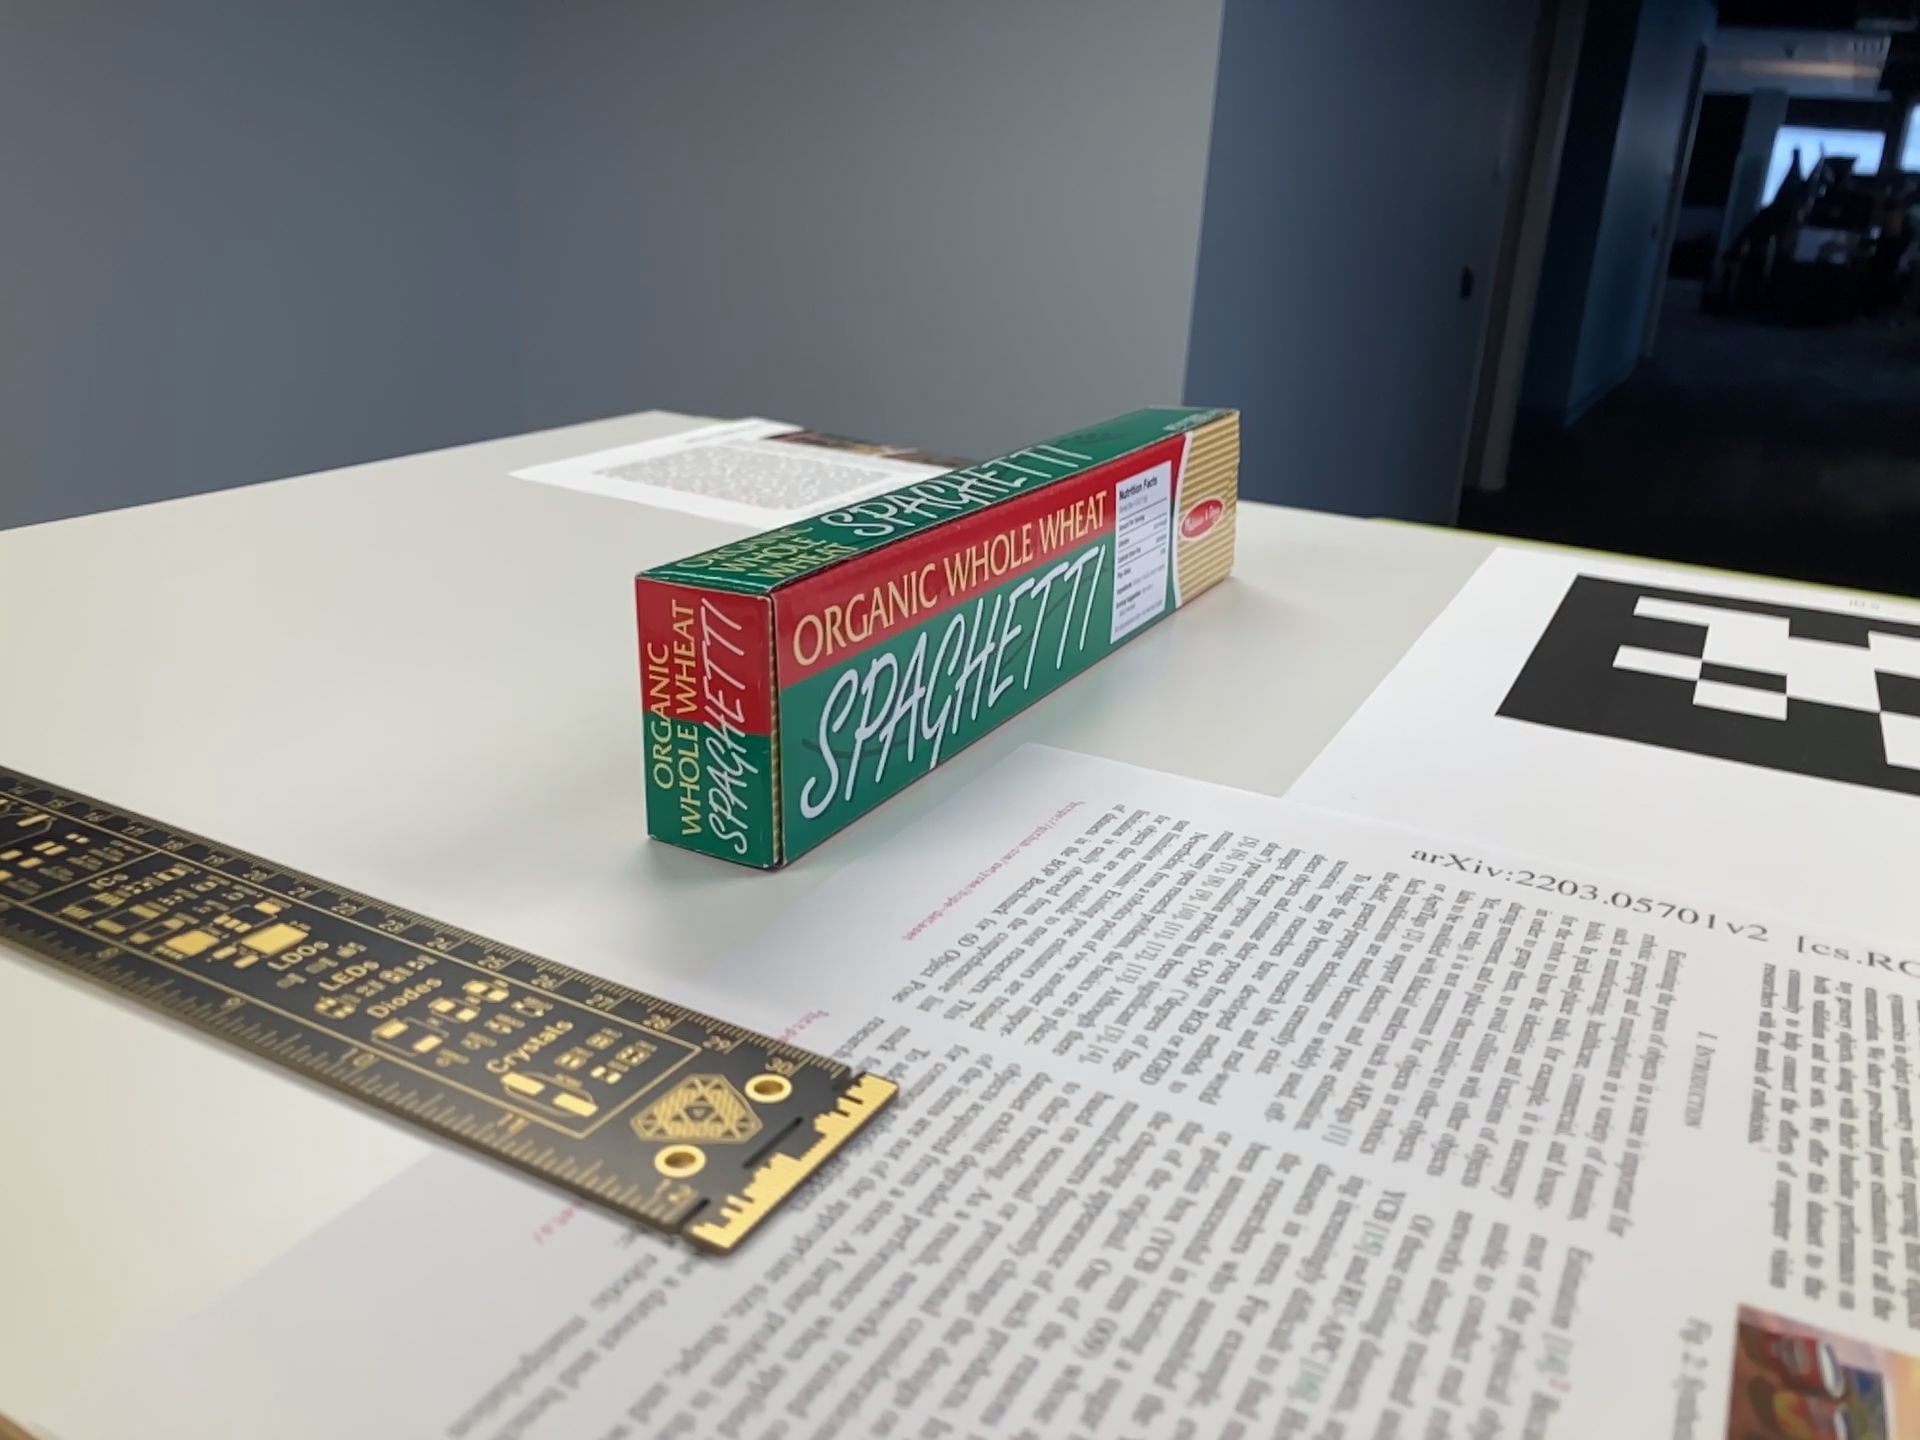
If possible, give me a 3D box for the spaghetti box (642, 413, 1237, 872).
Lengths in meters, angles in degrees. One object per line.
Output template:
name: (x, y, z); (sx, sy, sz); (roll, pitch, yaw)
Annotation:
spaghetti box: (0.013, -0.033, 0.370); (0.028, 0.050, 0.250); (8, 20, 26)
